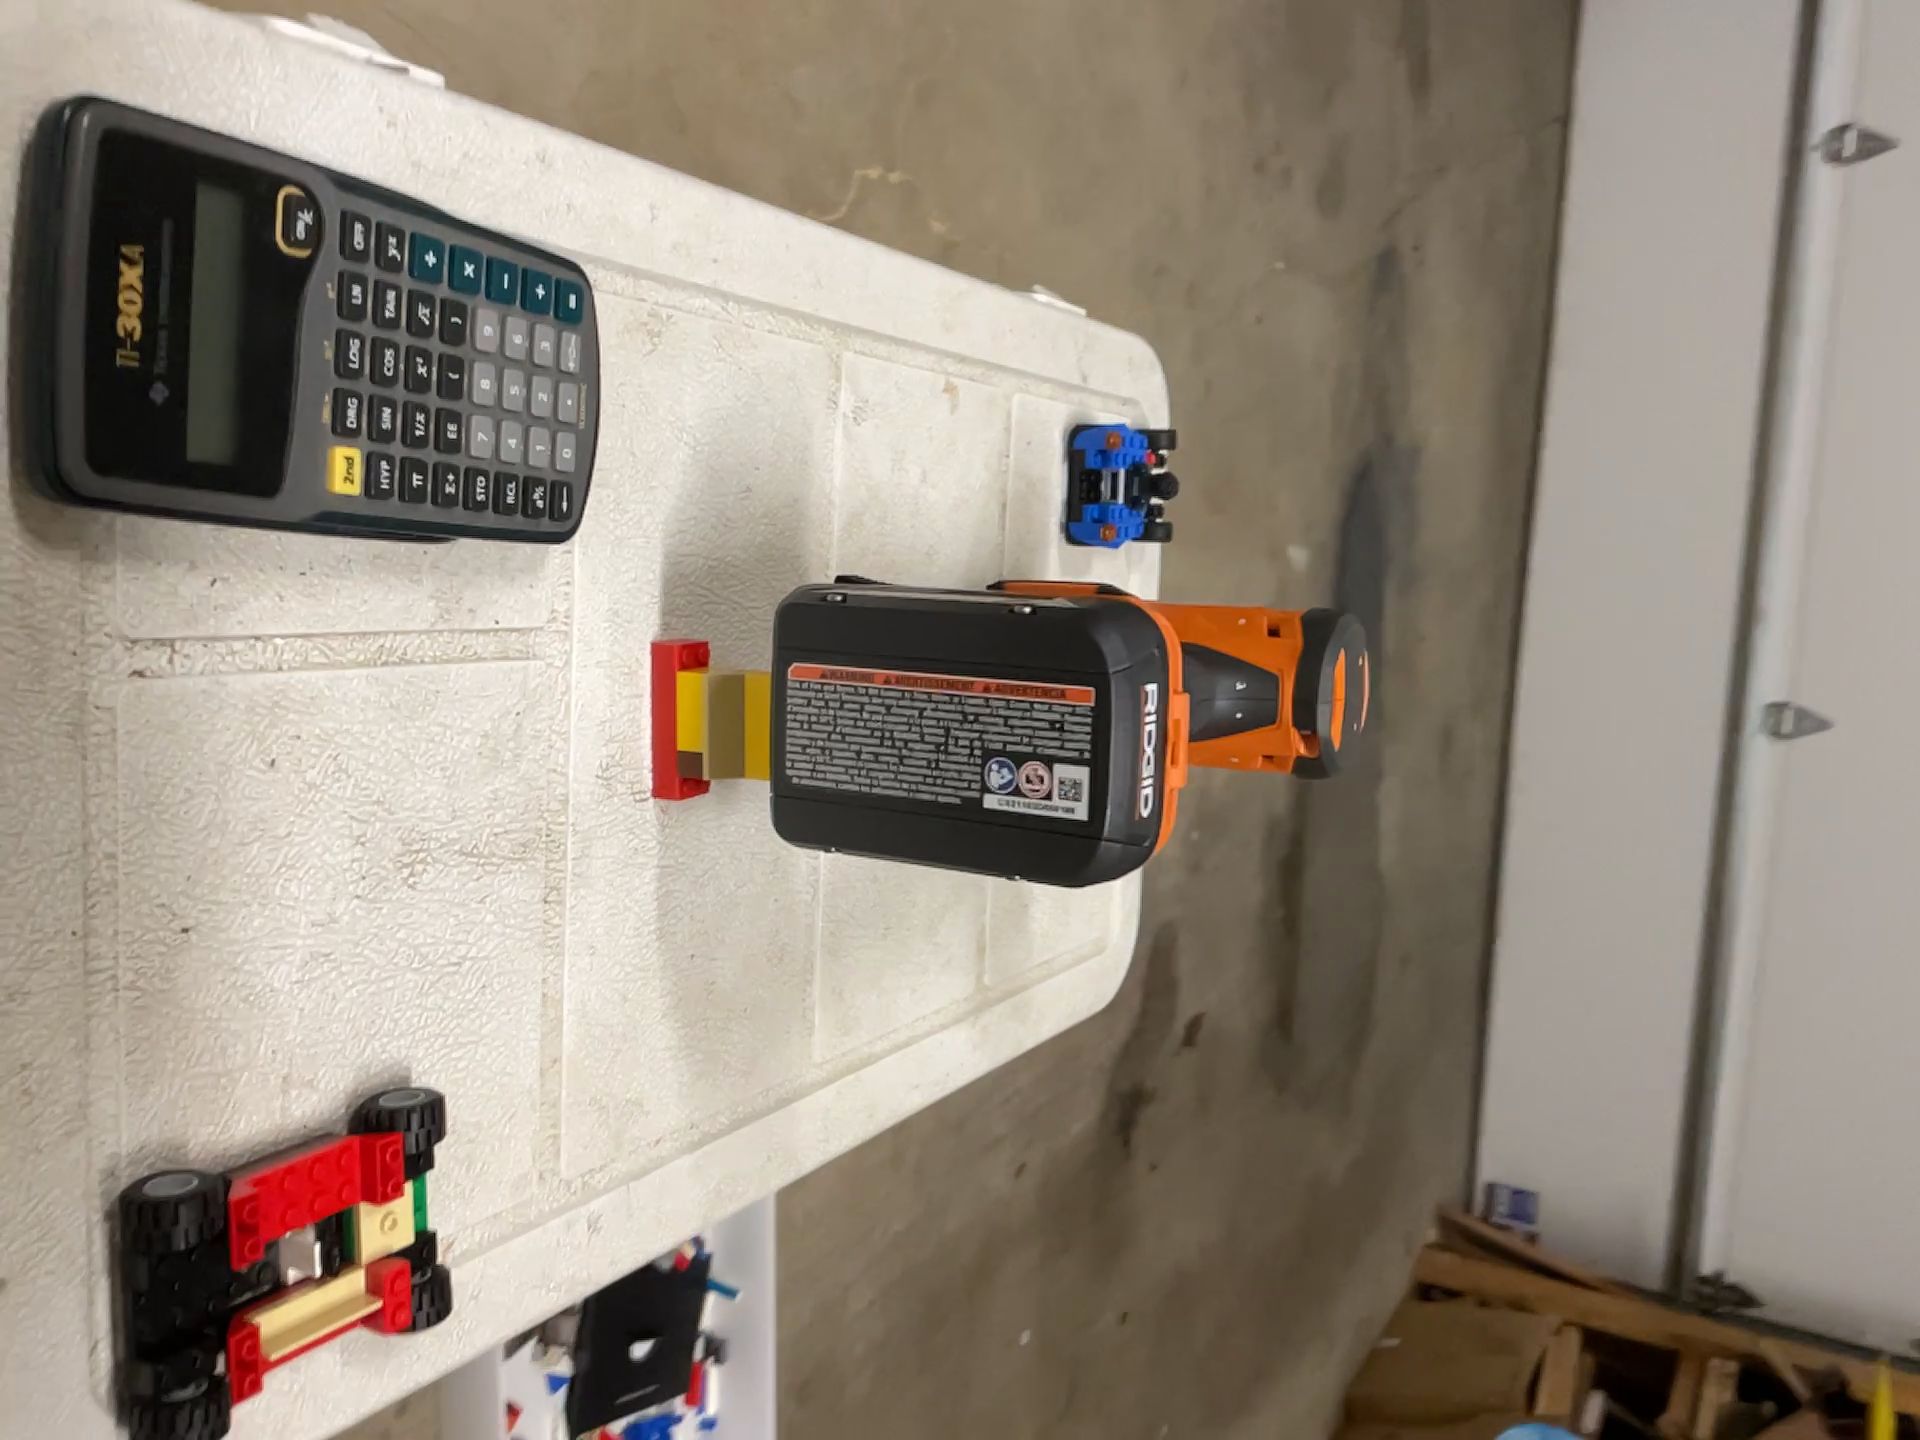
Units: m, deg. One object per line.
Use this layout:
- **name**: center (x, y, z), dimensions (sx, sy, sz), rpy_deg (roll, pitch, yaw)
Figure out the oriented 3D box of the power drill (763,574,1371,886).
- **power drill**: center (0.029, -0.007, 0.531), dimensions (0.226, 0.164, 0.084), rpy_deg (-11, 104, -61)
